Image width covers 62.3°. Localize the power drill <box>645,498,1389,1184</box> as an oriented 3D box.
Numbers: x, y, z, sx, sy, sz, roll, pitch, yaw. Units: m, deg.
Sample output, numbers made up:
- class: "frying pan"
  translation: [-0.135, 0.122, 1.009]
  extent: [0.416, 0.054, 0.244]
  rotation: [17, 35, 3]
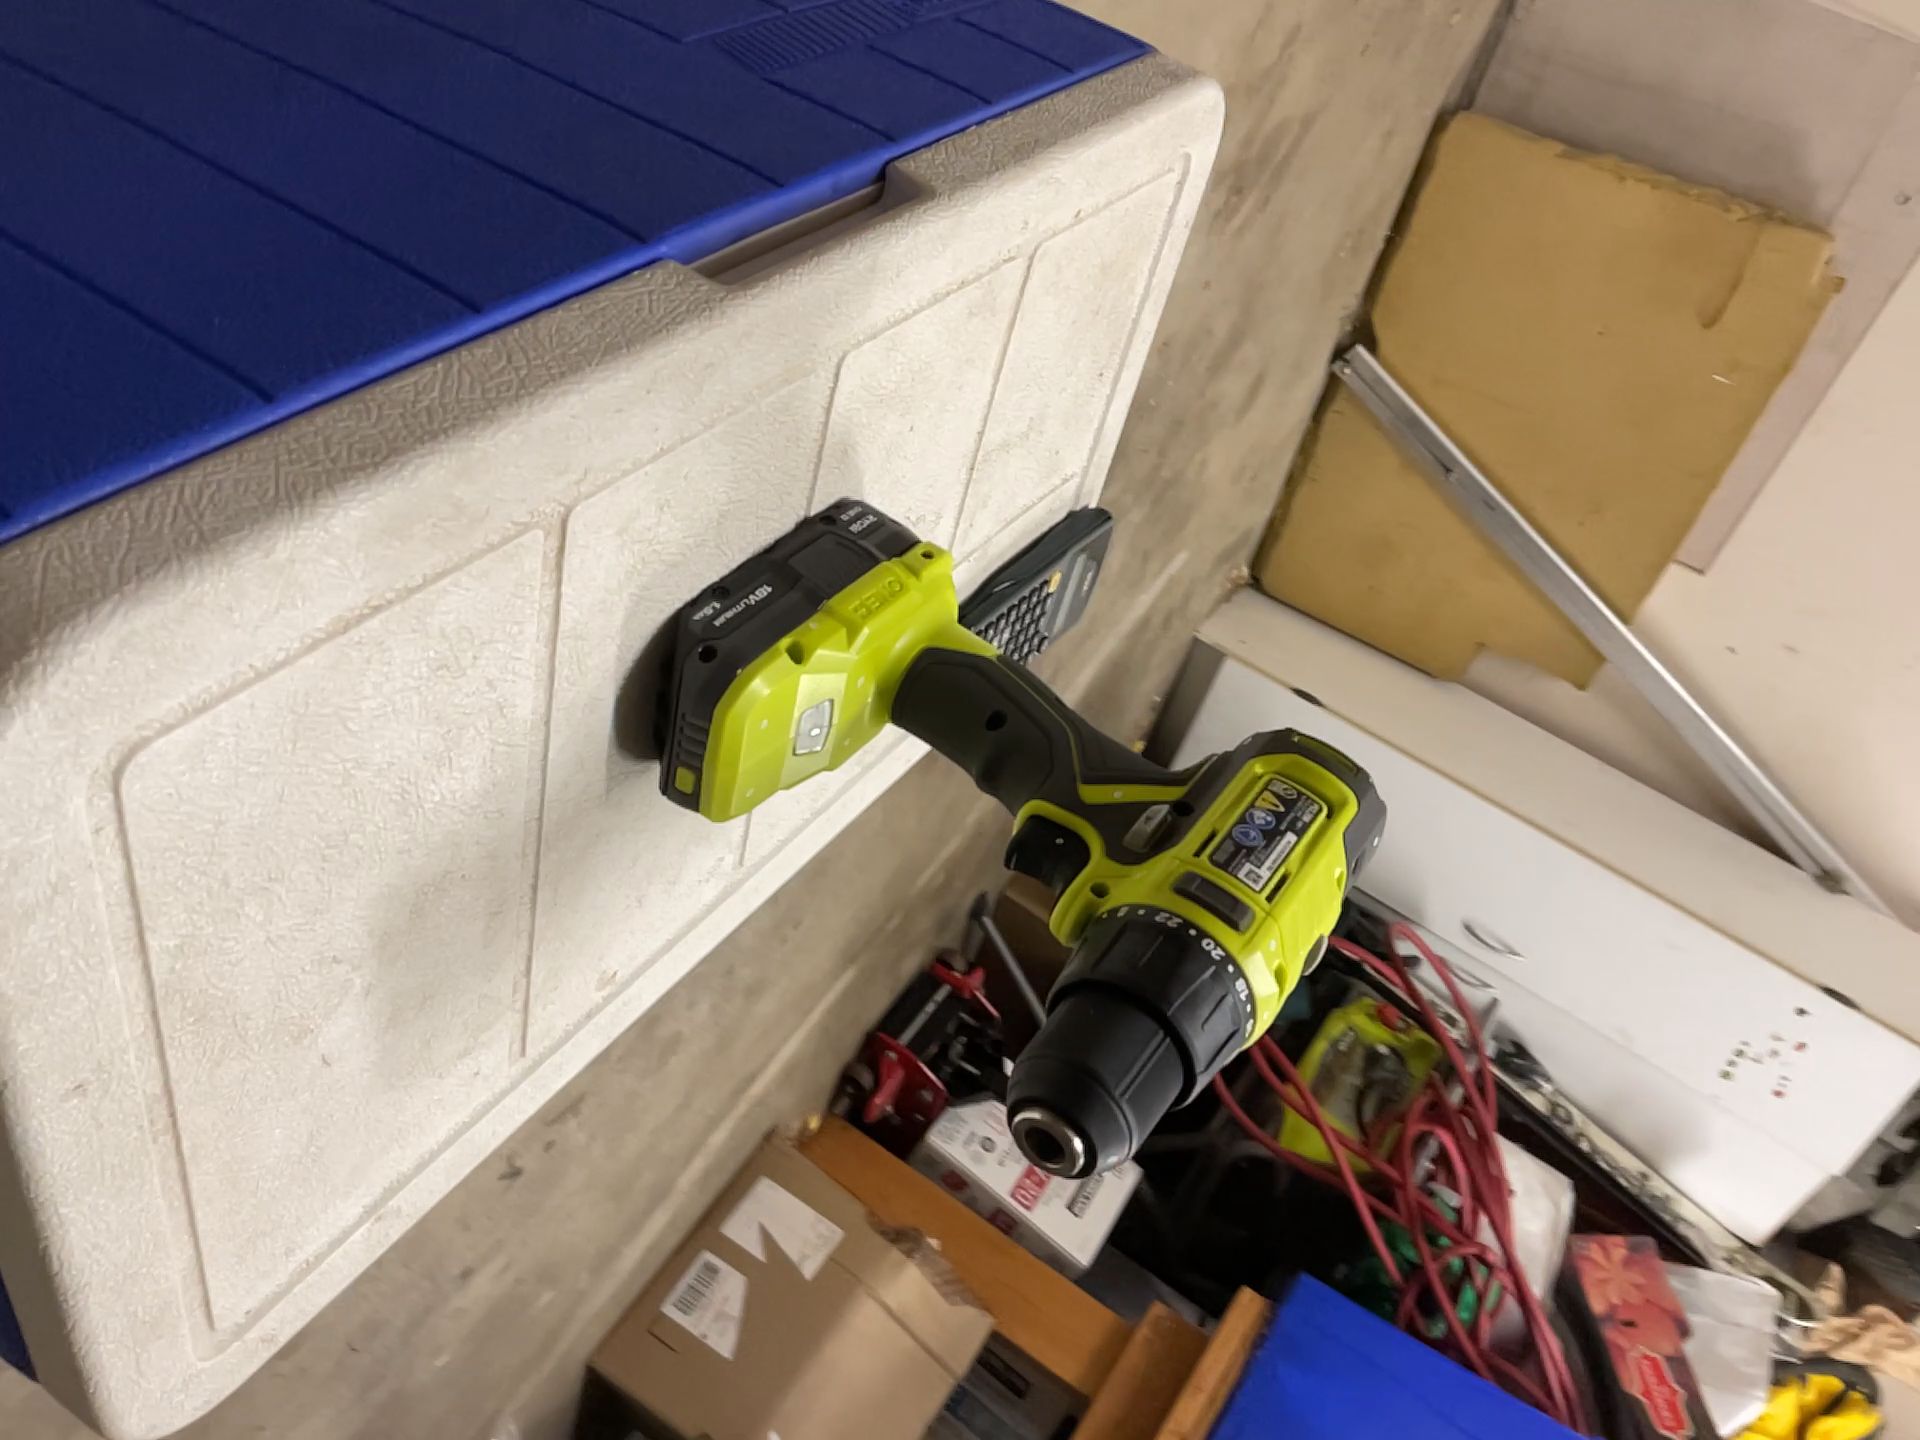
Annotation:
- class: "power drill"
  translation: [0.009, 0.032, 0.527]
  extent: [0.191, 0.228, 0.080]
  rotation: [-41, 156, -43]
